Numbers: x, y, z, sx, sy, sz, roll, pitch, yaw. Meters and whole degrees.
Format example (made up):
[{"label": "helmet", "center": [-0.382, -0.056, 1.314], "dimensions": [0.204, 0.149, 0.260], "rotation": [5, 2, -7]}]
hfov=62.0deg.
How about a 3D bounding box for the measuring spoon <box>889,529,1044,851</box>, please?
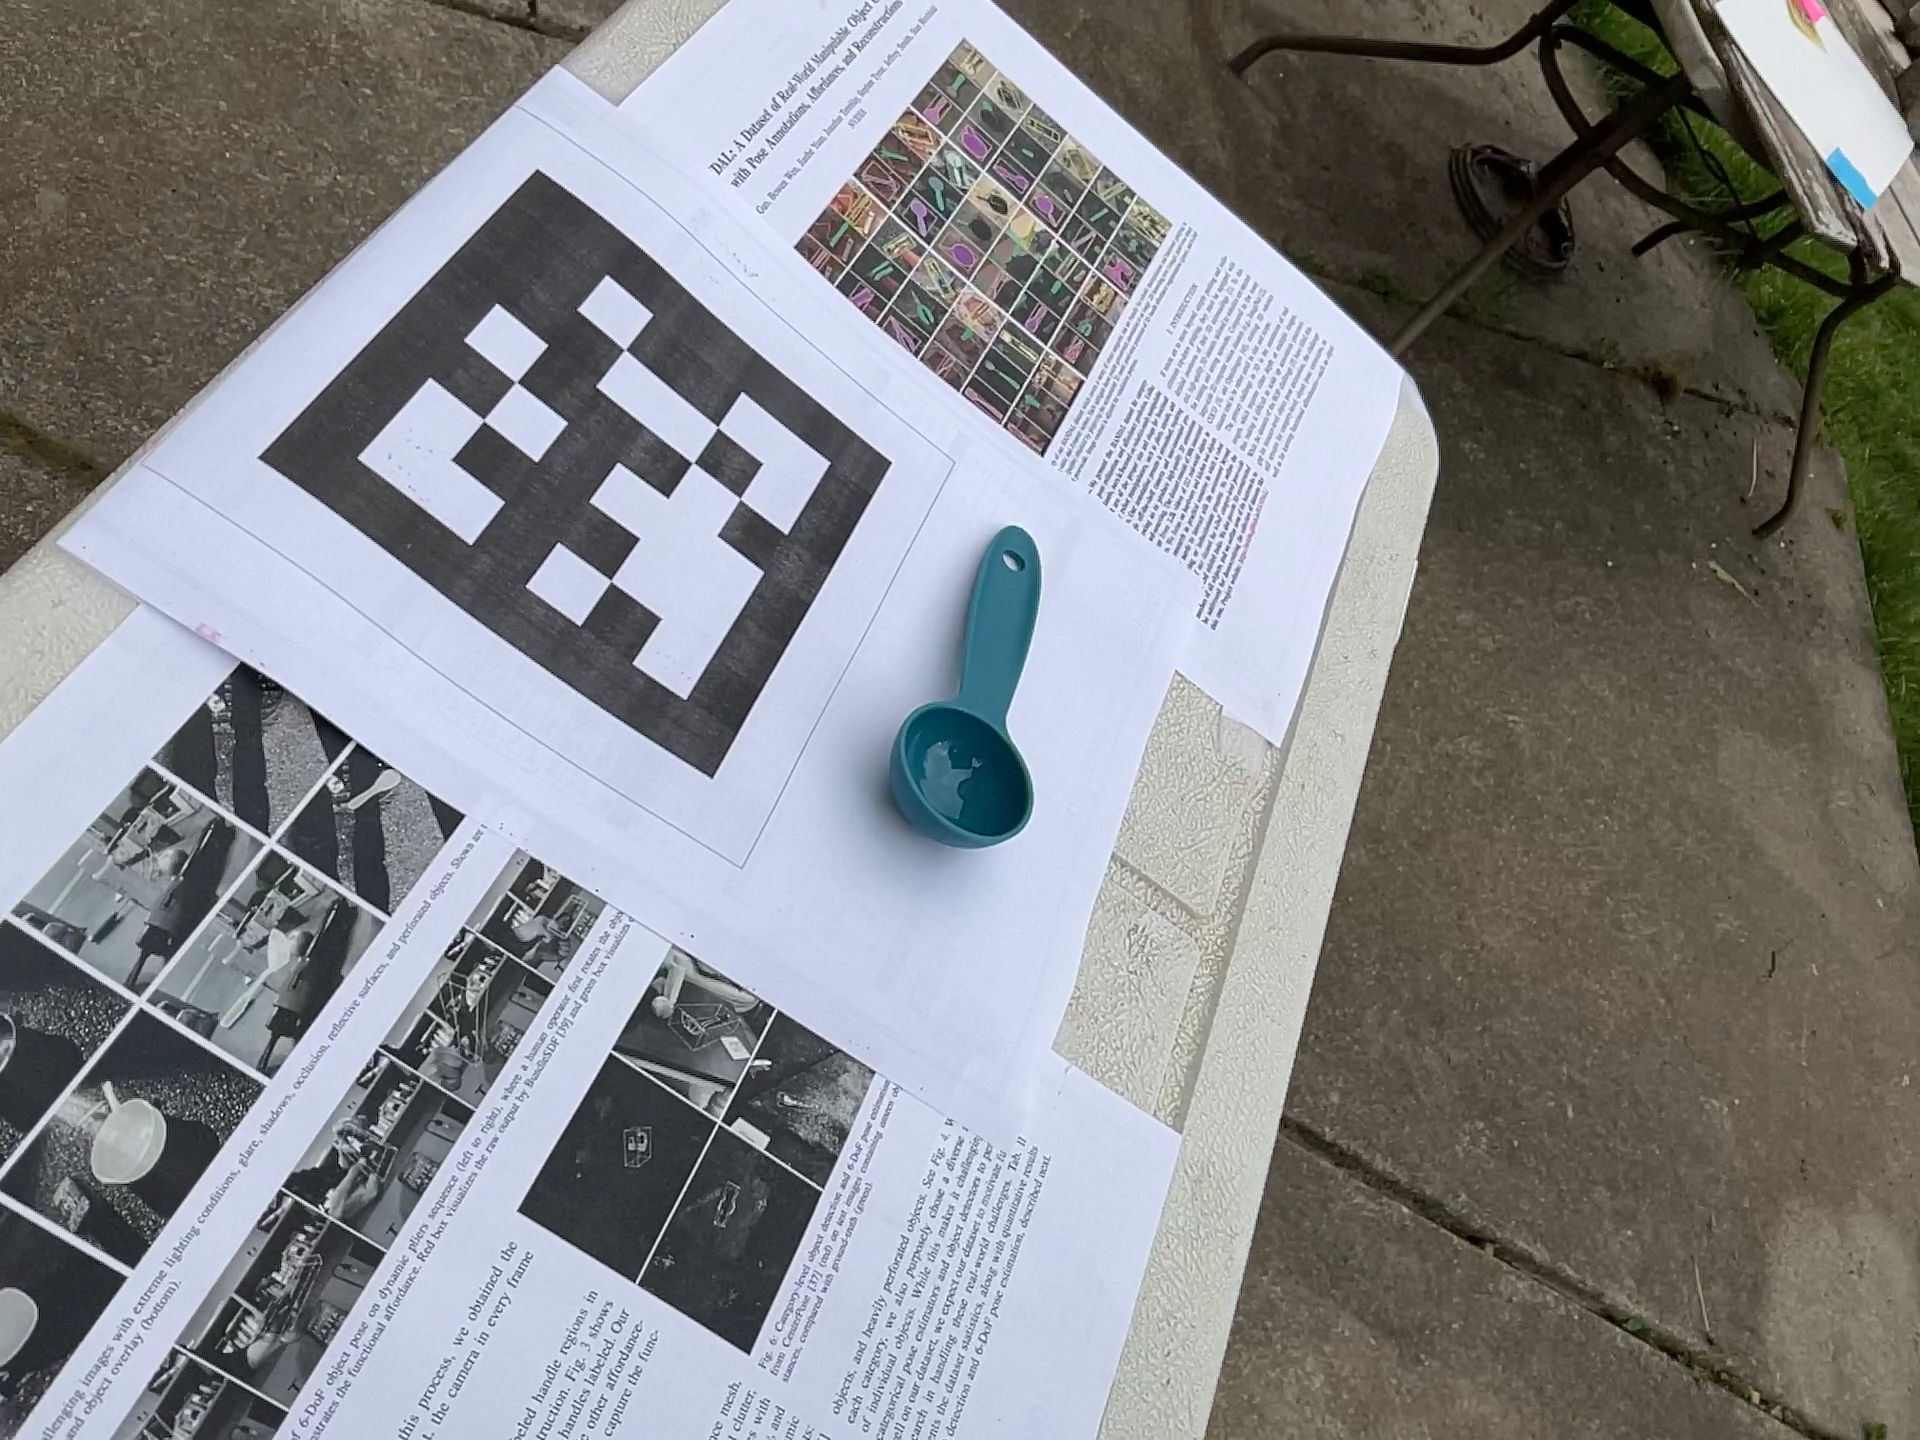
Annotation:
[{"label": "measuring spoon", "center": [0.004, -0.011, 0.457], "dimensions": [0.042, 0.021, 0.129], "rotation": [33, 41, -16]}]
